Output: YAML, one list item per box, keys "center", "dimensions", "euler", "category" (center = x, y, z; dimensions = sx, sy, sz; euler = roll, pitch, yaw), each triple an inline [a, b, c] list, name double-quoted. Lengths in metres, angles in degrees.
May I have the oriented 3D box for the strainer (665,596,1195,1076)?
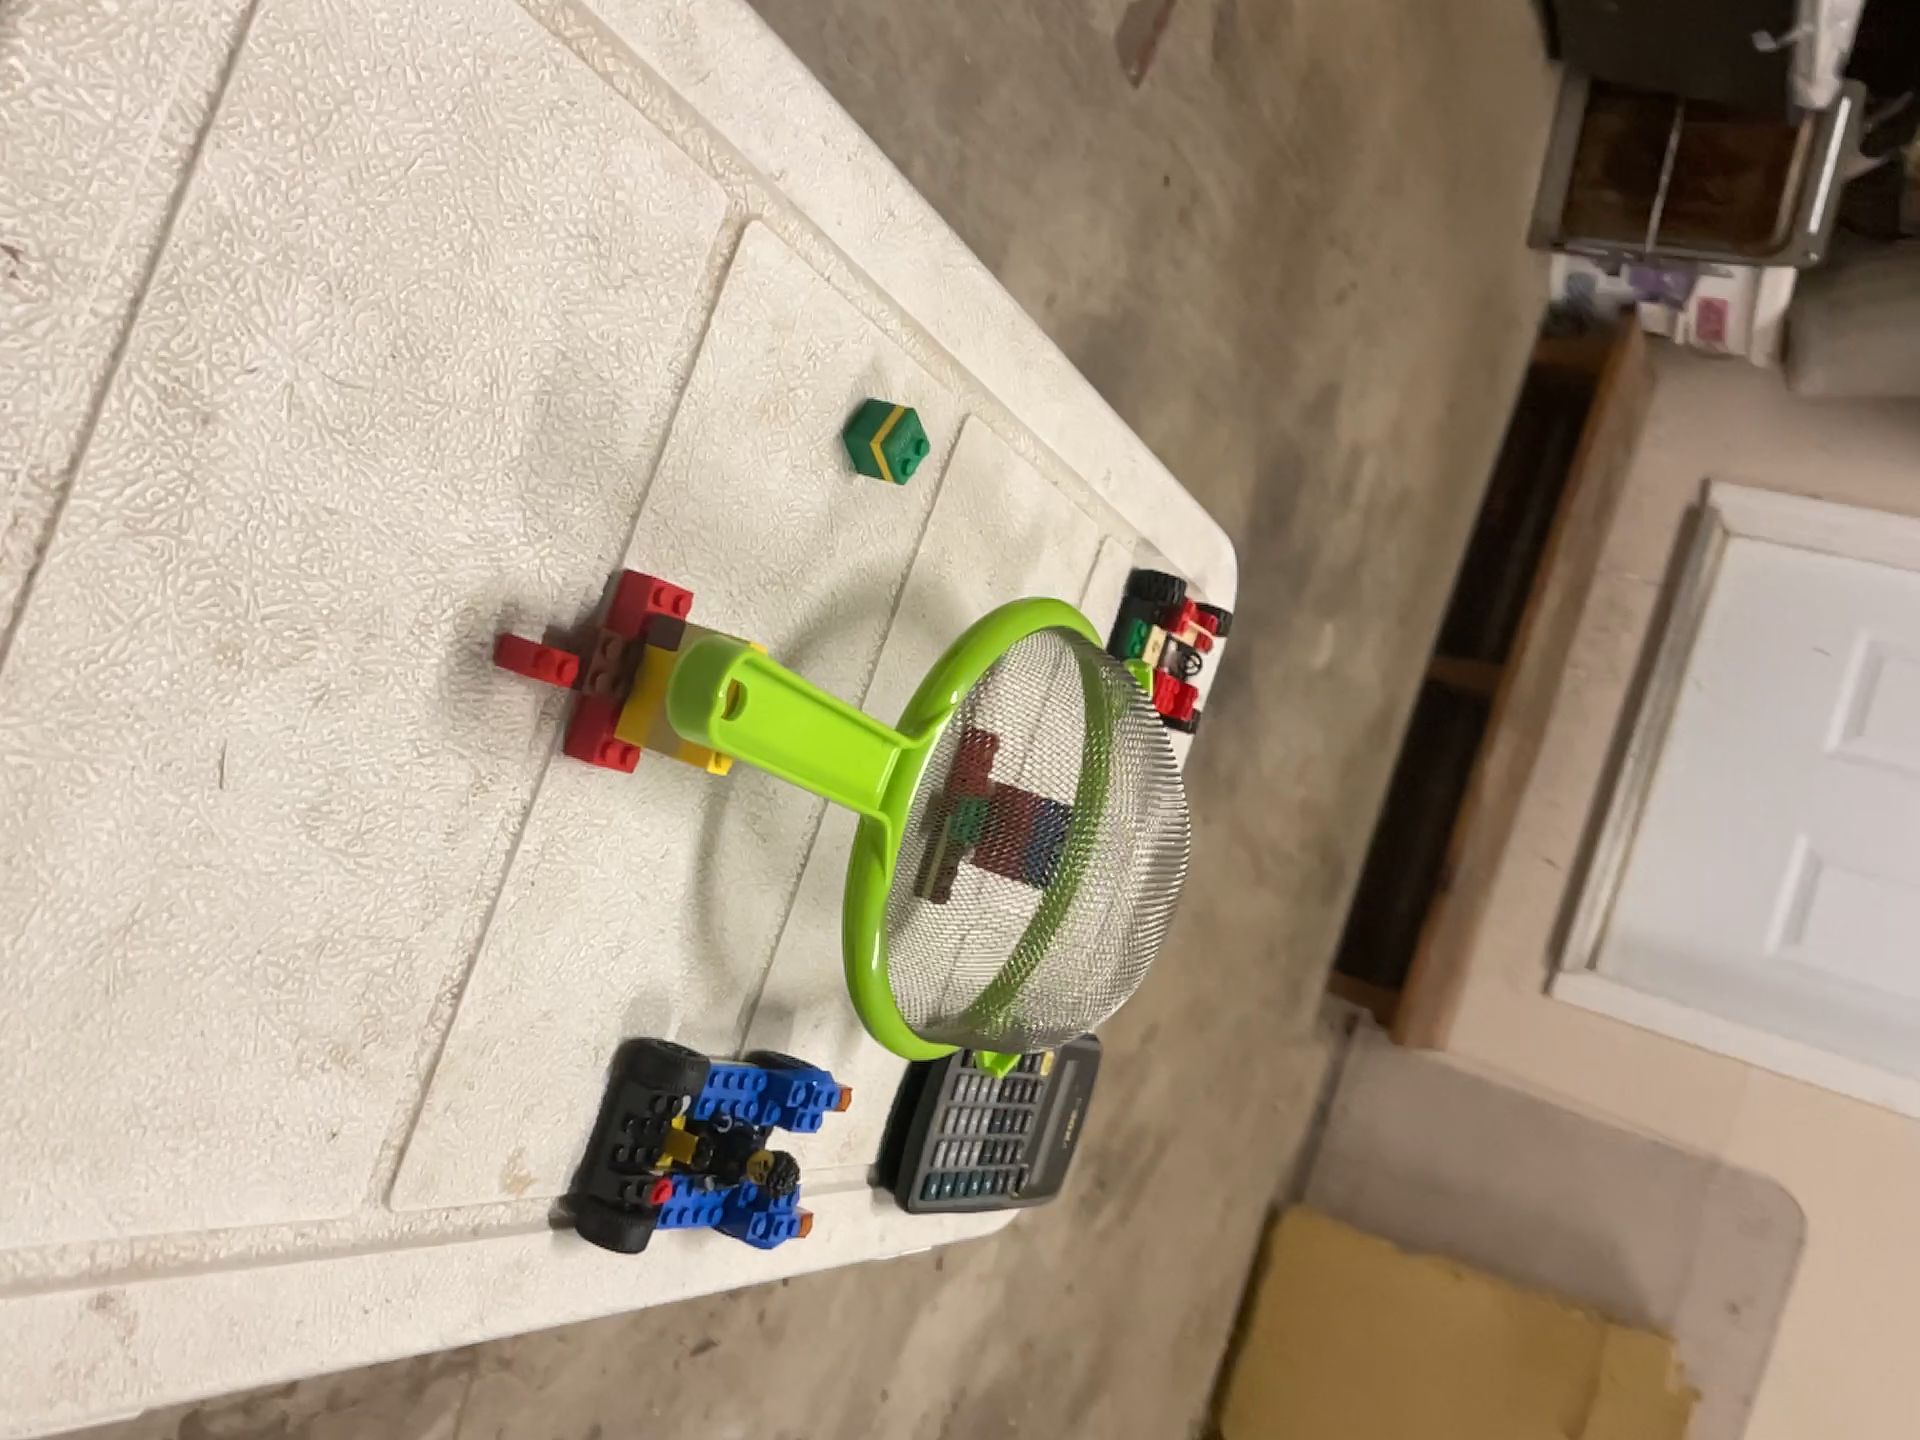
- center: [0.012, 0.029, 0.444]
  dimensions: [0.256, 0.069, 0.151]
  euler: [32, 78, -63]
  category: "strainer"
